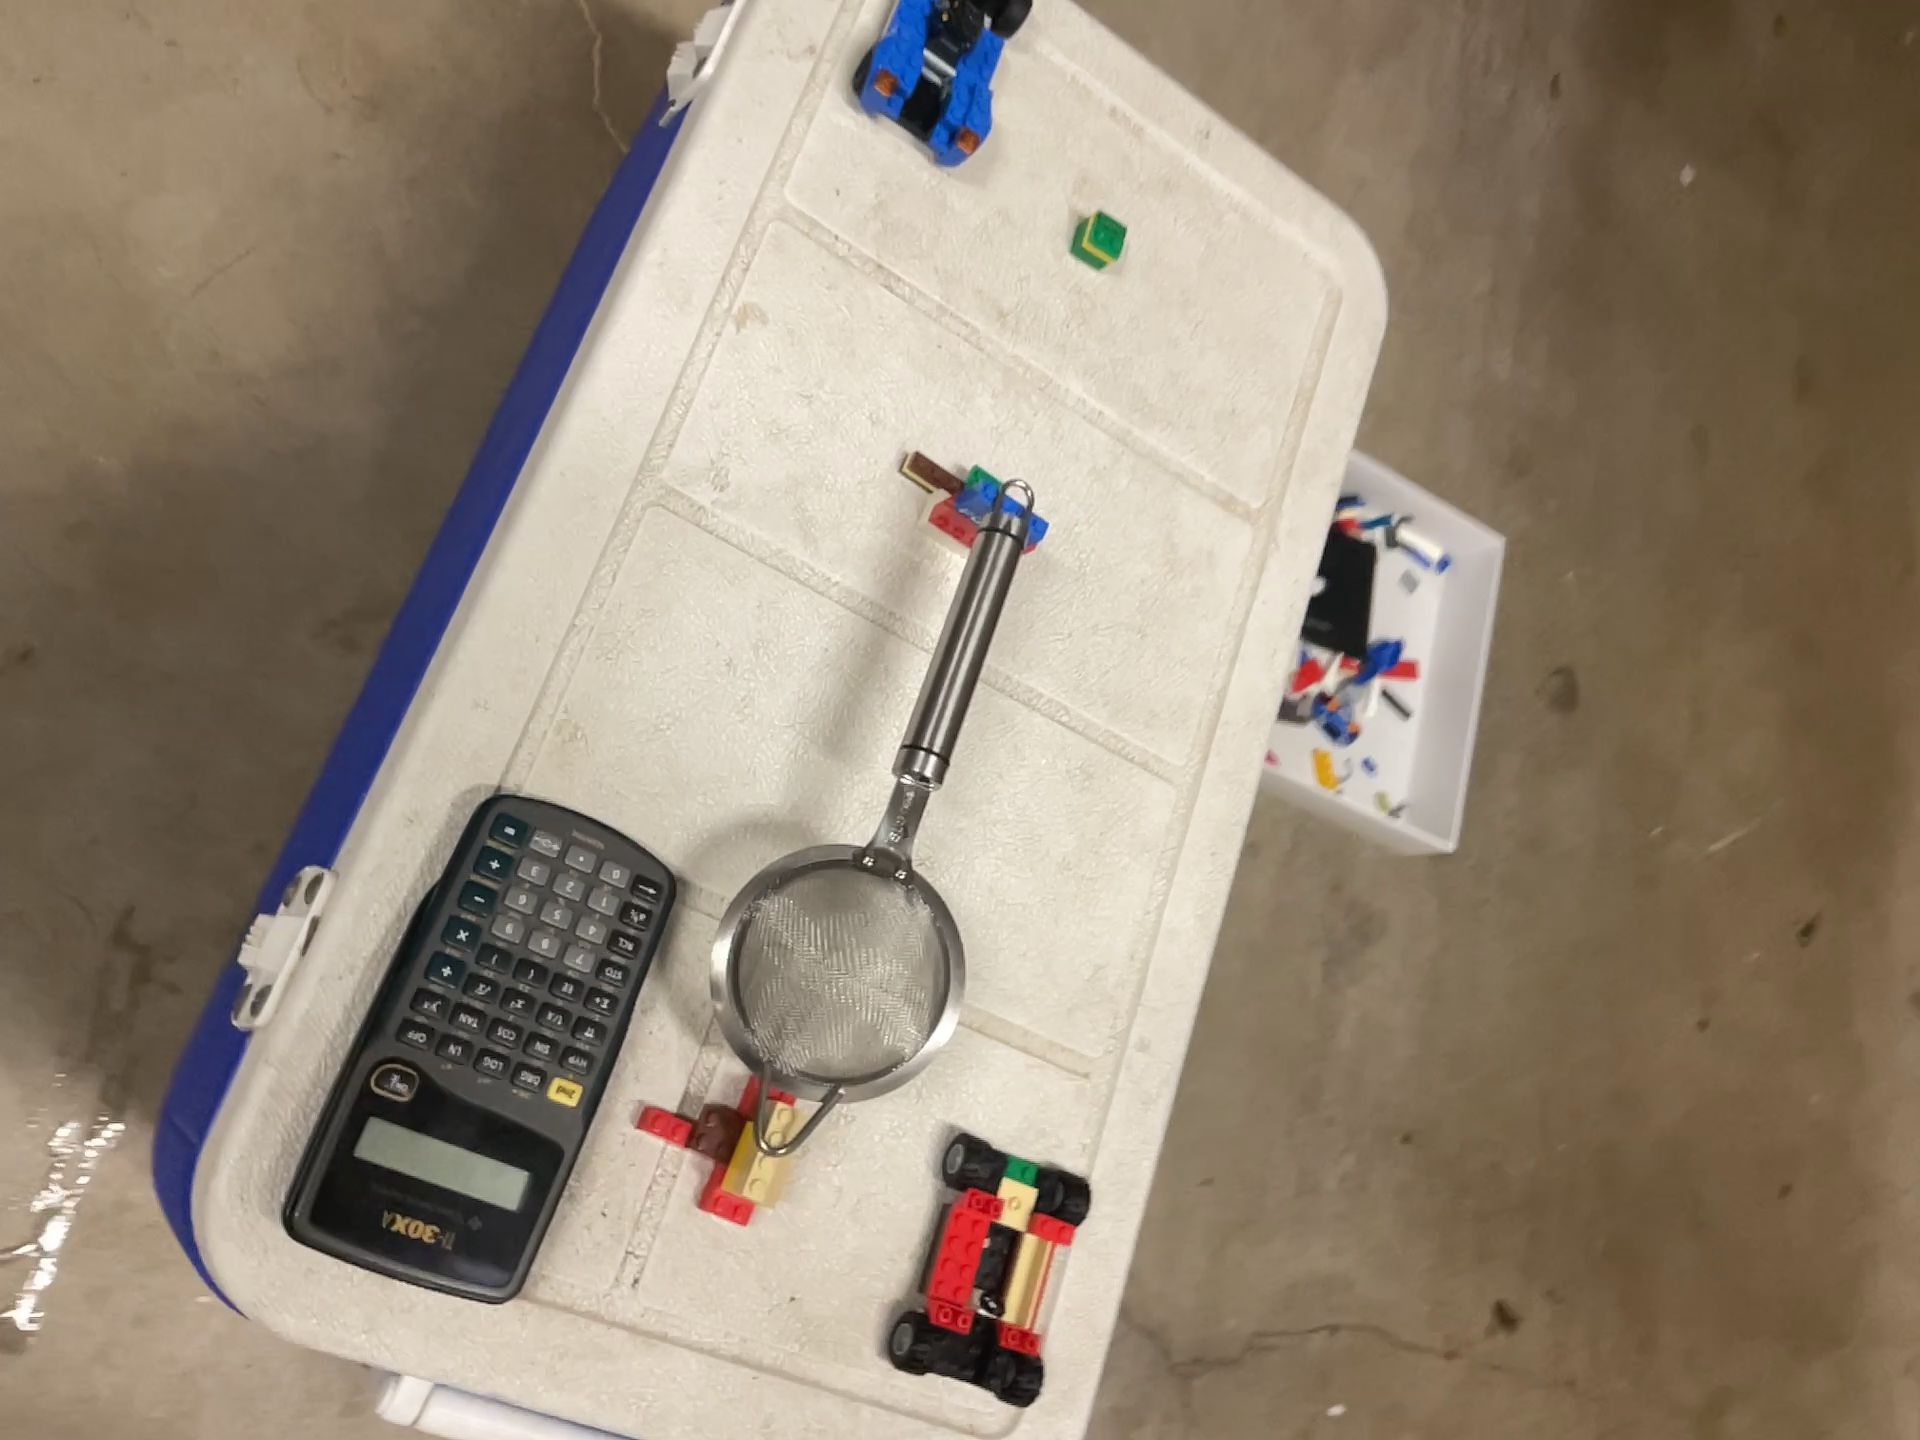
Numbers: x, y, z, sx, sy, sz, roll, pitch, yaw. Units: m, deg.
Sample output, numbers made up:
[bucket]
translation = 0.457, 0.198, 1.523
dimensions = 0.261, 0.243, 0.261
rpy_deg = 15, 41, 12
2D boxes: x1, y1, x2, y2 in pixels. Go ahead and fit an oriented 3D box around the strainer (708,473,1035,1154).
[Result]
[strainer]
translation = -0.017, 0.021, 0.550
dimensions = 0.087, 0.050, 0.258
rpy_deg = 23, 69, -9
